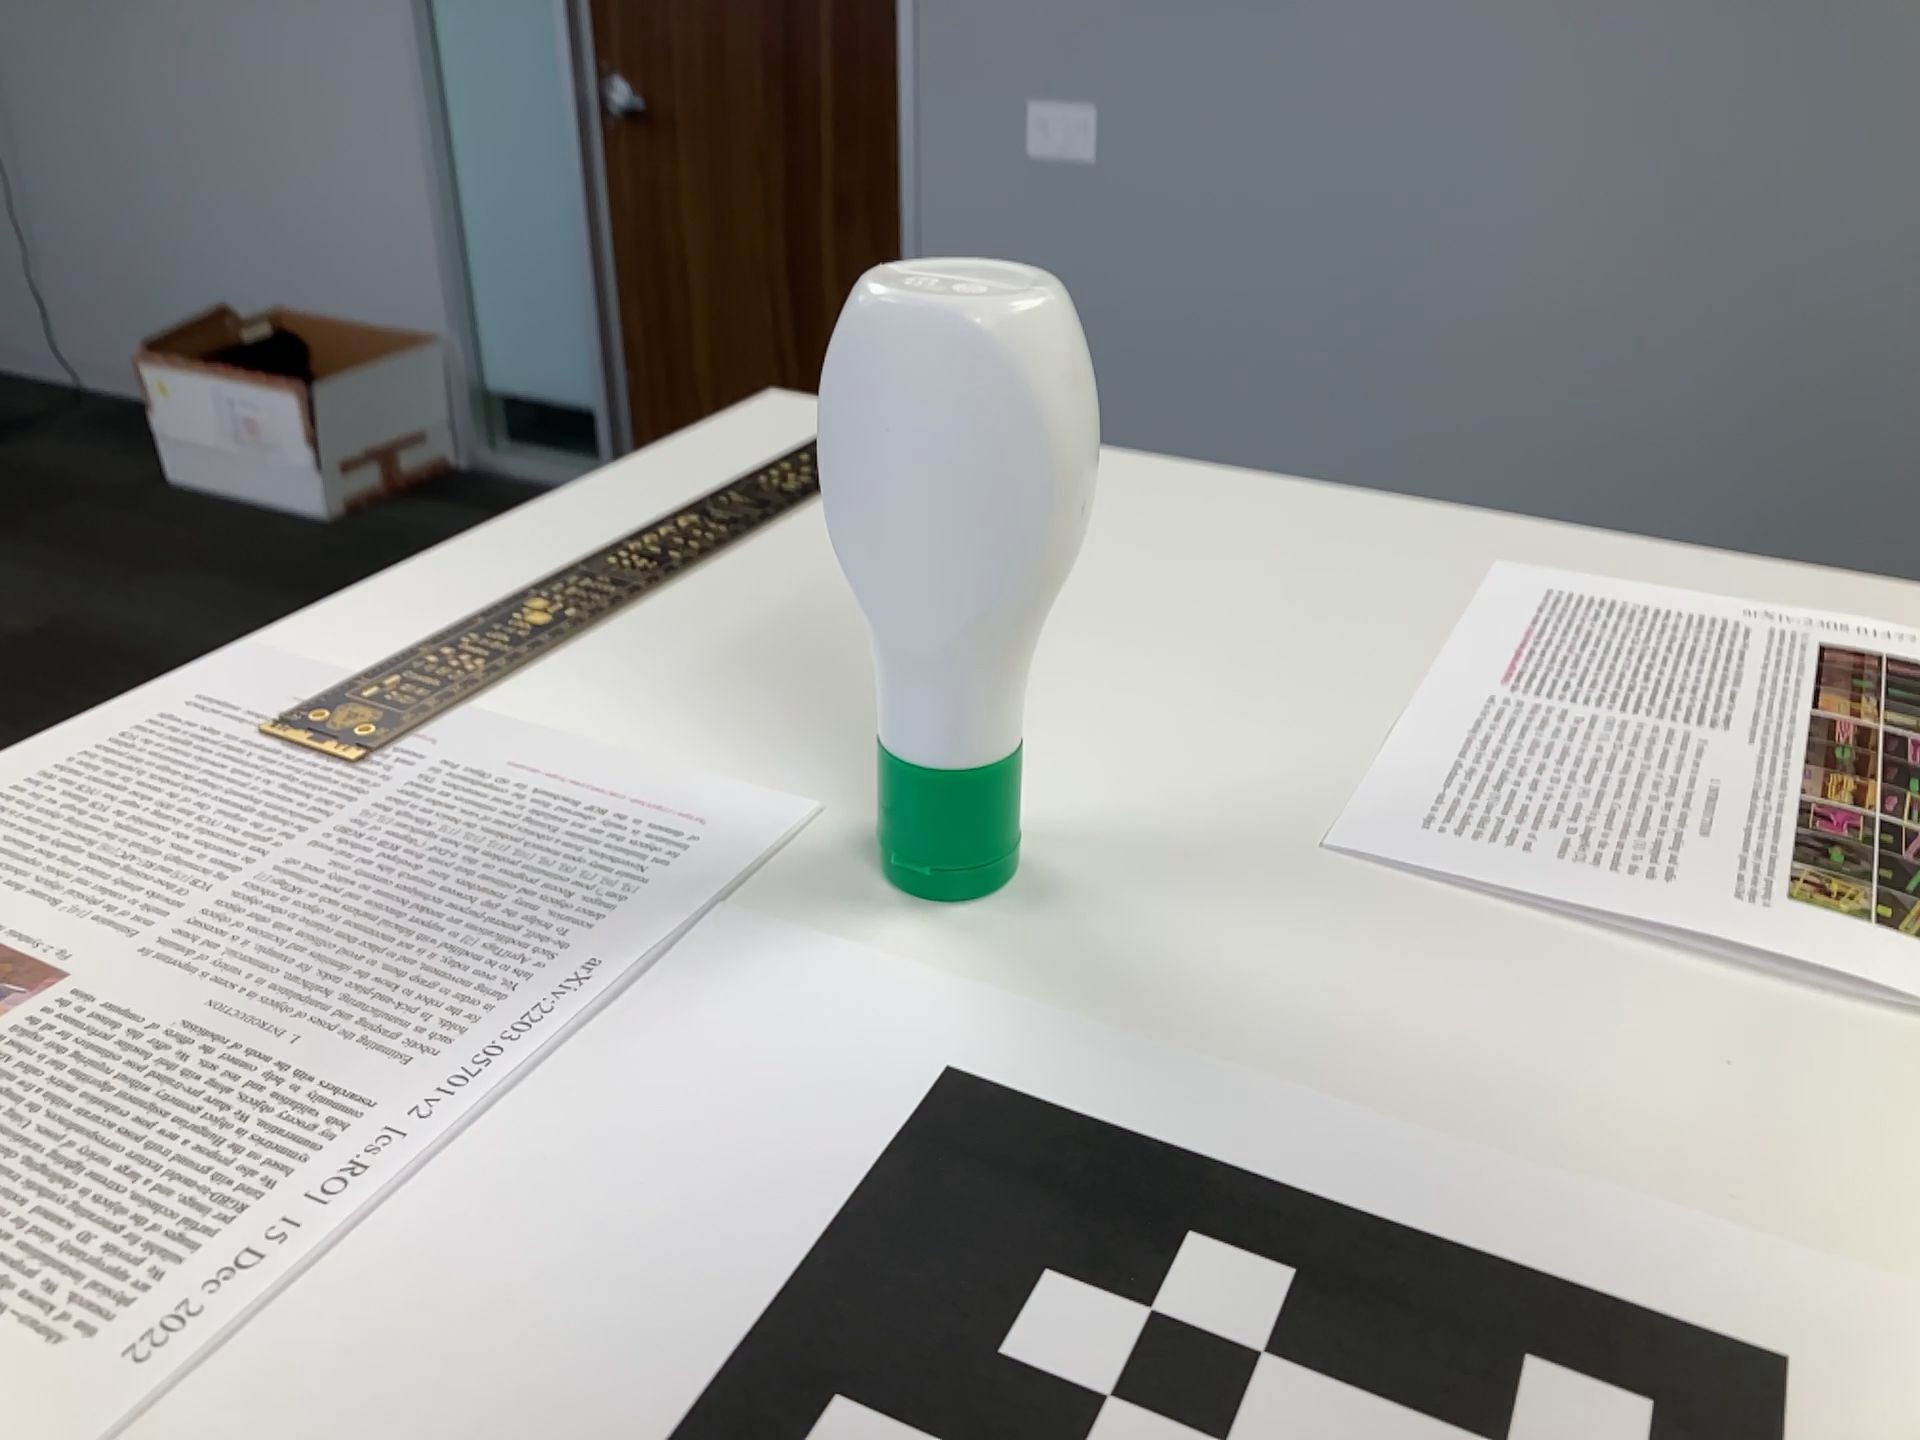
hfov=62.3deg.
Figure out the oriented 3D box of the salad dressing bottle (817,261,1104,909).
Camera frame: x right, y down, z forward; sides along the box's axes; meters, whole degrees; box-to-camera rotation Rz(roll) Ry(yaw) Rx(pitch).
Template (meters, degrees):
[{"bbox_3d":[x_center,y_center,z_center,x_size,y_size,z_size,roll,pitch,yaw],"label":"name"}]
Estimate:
[{"bbox_3d":[-0.001,-0.027,0.367,0.064,0.147,0.044,15,30,25],"label":"salad dressing bottle"}]
